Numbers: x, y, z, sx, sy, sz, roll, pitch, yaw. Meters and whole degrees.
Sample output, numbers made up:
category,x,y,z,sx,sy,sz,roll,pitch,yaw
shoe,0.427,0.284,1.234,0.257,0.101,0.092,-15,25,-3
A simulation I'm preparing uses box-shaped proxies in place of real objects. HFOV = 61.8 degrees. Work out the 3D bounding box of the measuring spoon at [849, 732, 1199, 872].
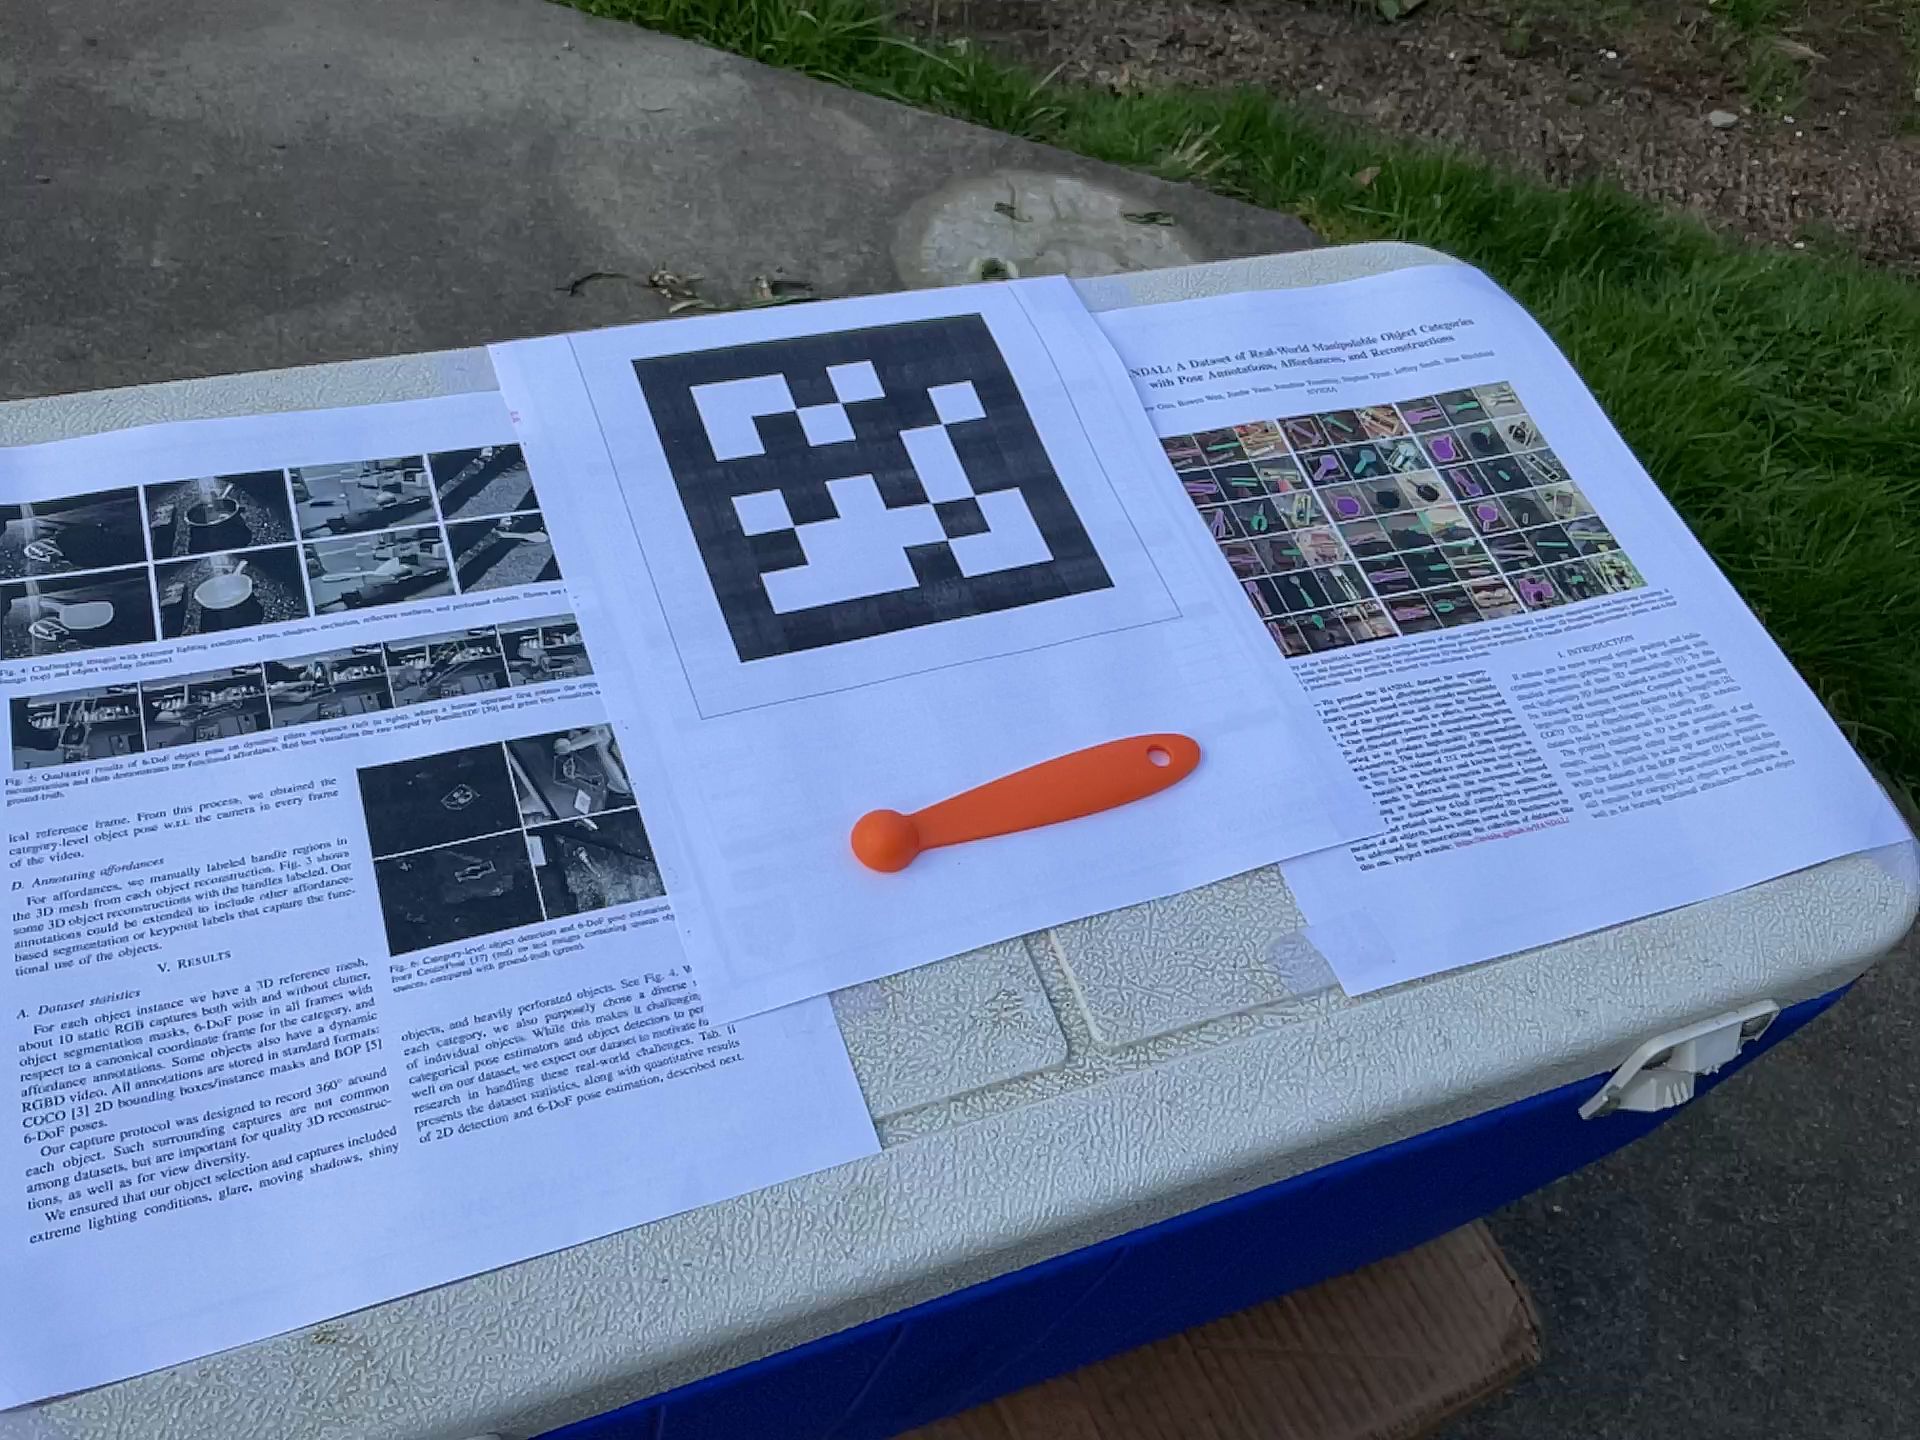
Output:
category,x,y,z,sx,sy,sz,roll,pitch,yaw
measuring spoon,0.022,0.021,0.476,0.117,0.011,0.021,-15,65,-22
